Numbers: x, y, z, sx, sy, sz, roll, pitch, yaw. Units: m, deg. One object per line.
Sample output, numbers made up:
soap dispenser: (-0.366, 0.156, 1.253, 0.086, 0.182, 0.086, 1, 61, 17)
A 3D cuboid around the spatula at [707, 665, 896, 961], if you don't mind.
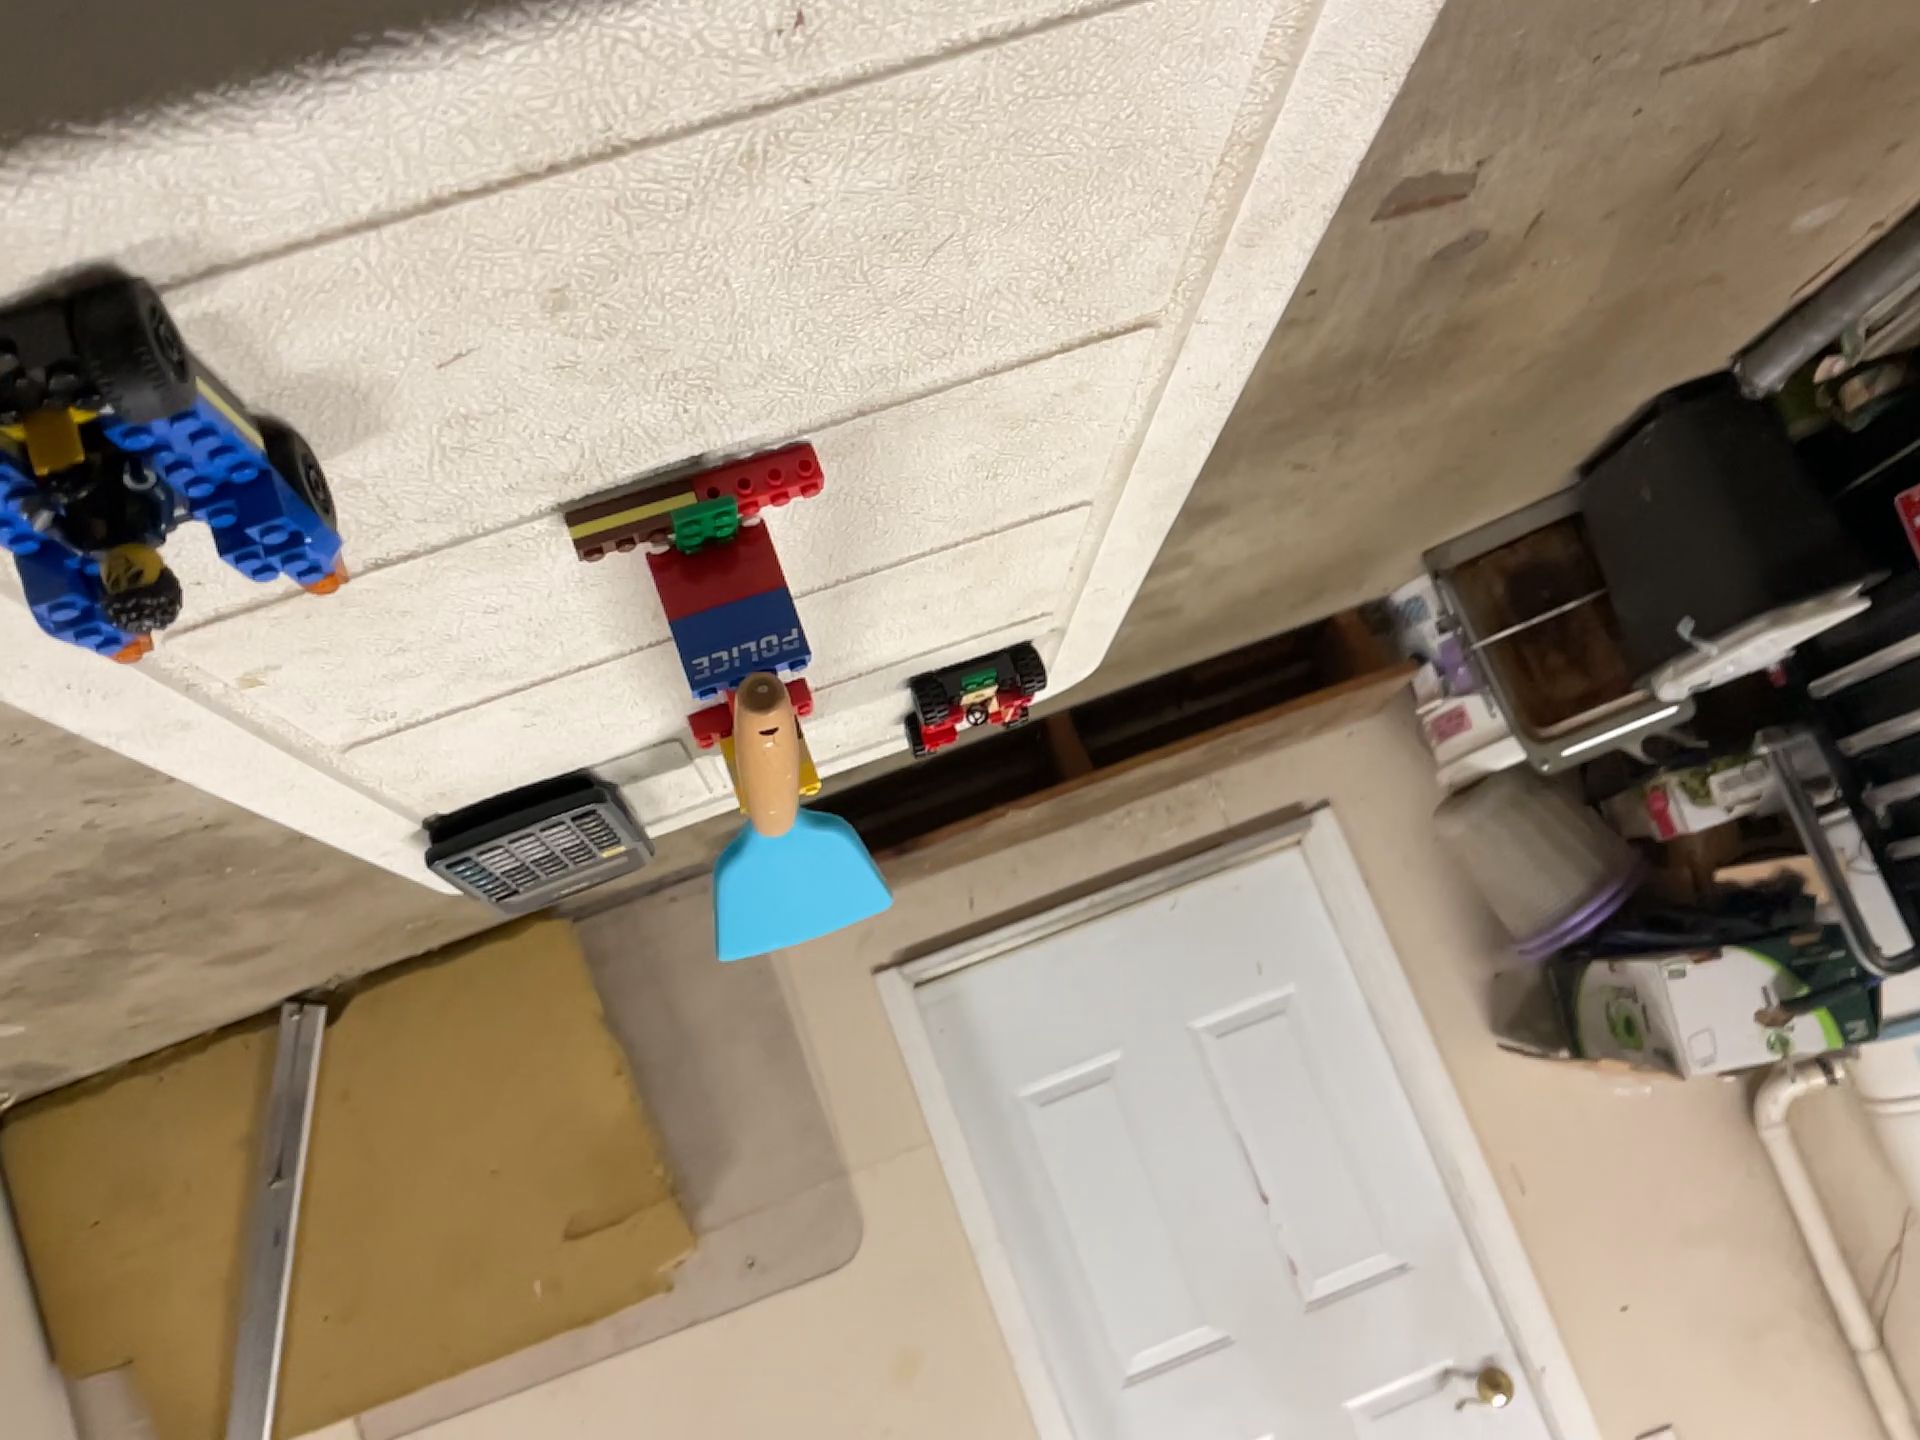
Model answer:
spatula: (-0.059, 0.037, 0.540, 0.082, 0.044, 0.317, -16, 169, -9)
